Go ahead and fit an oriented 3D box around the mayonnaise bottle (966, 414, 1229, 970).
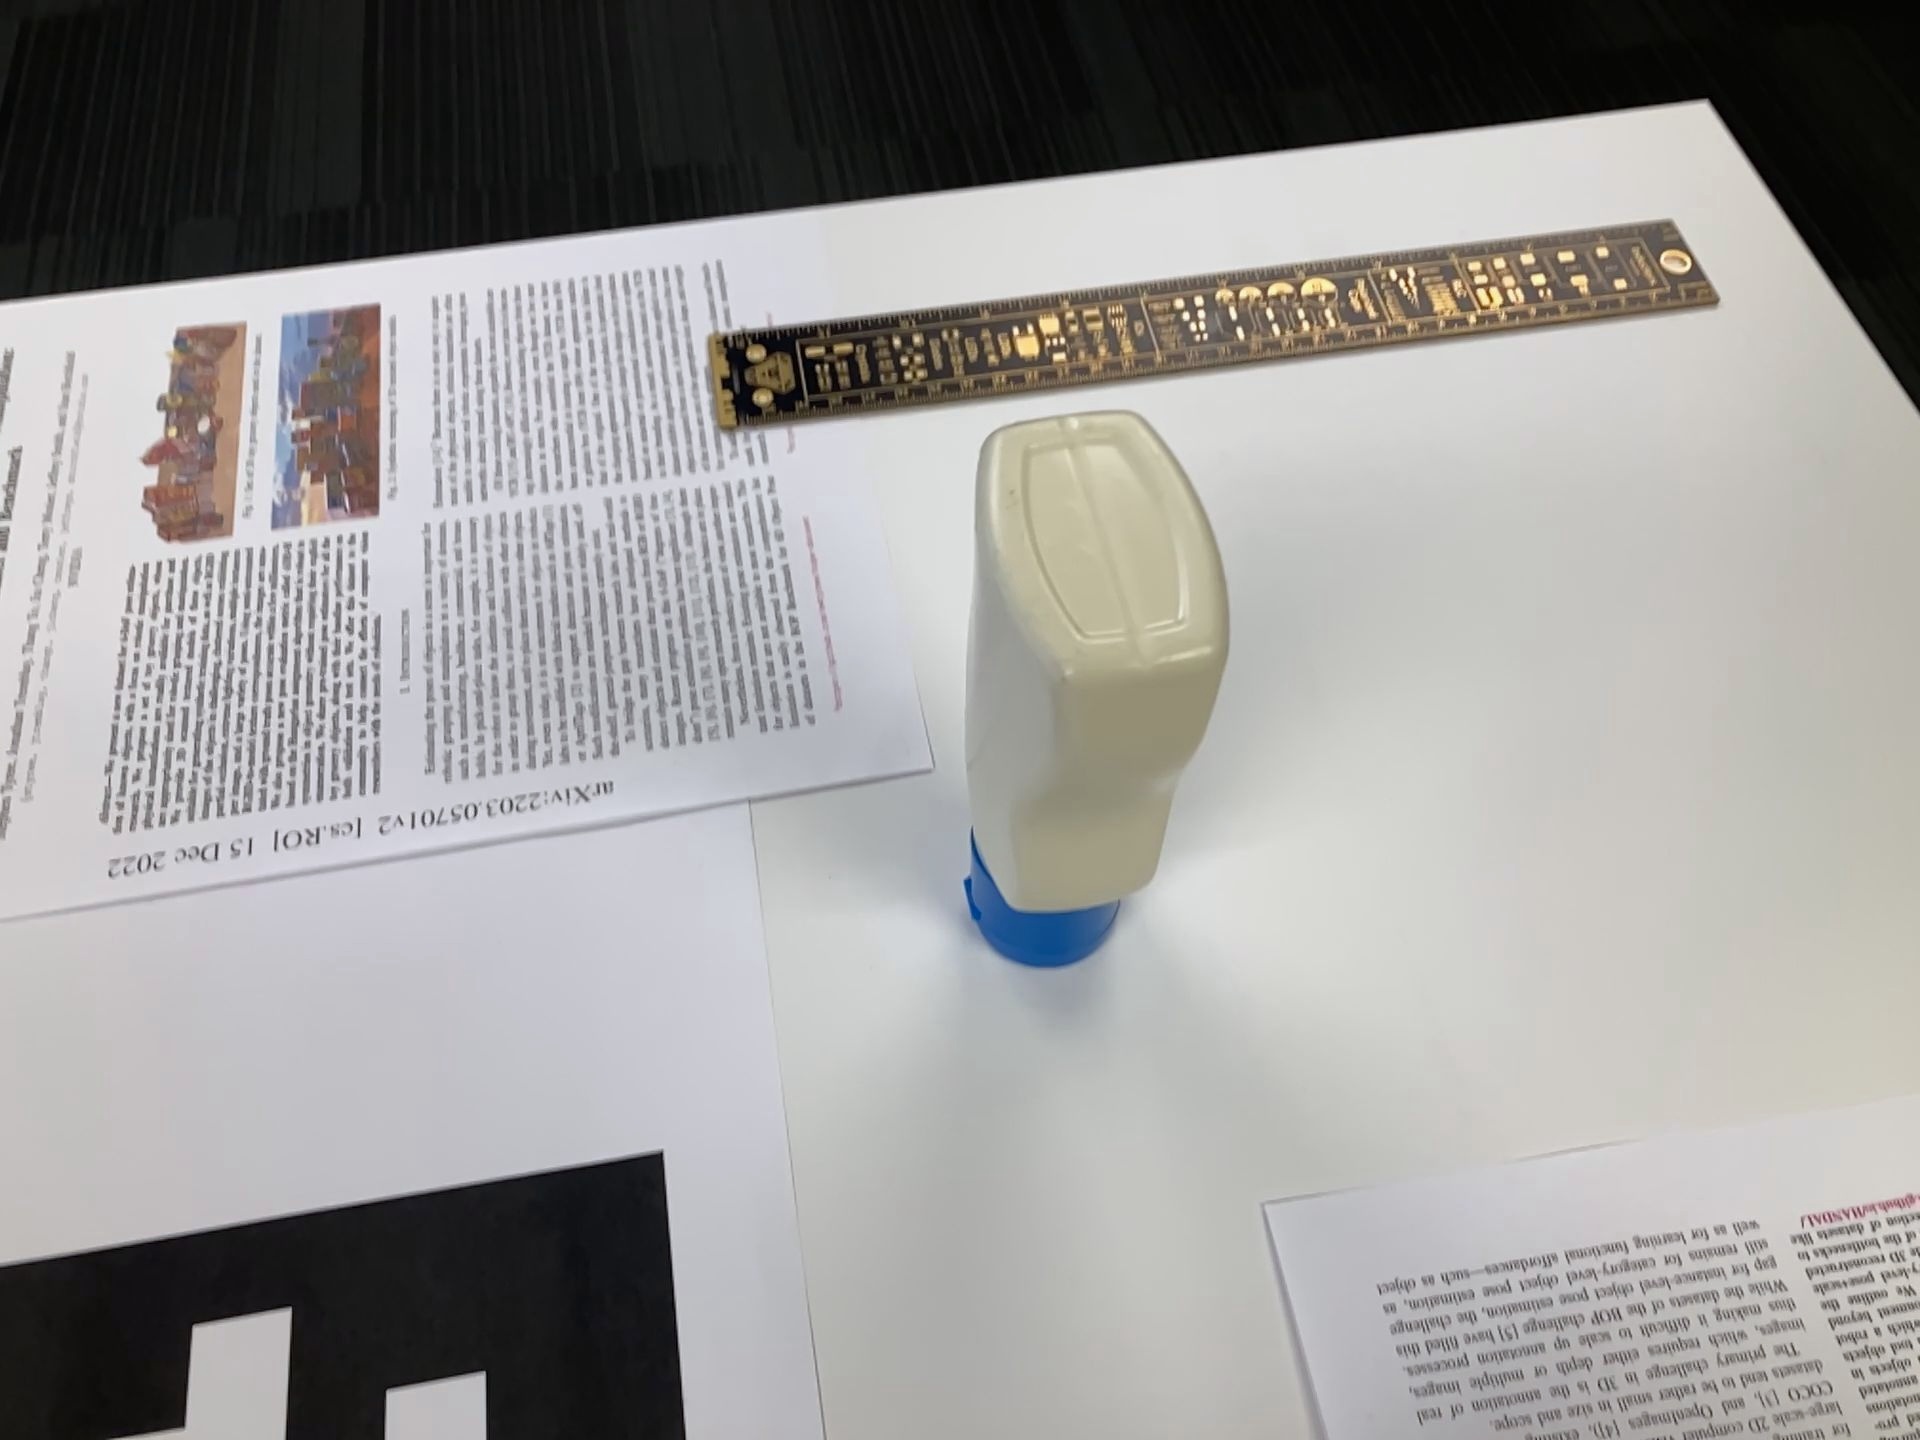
[{"bbox_3d":[0.023,0.007,0.331,0.041,0.148,0.065,-9,59,-7],"label":"mayonnaise bottle"}]
